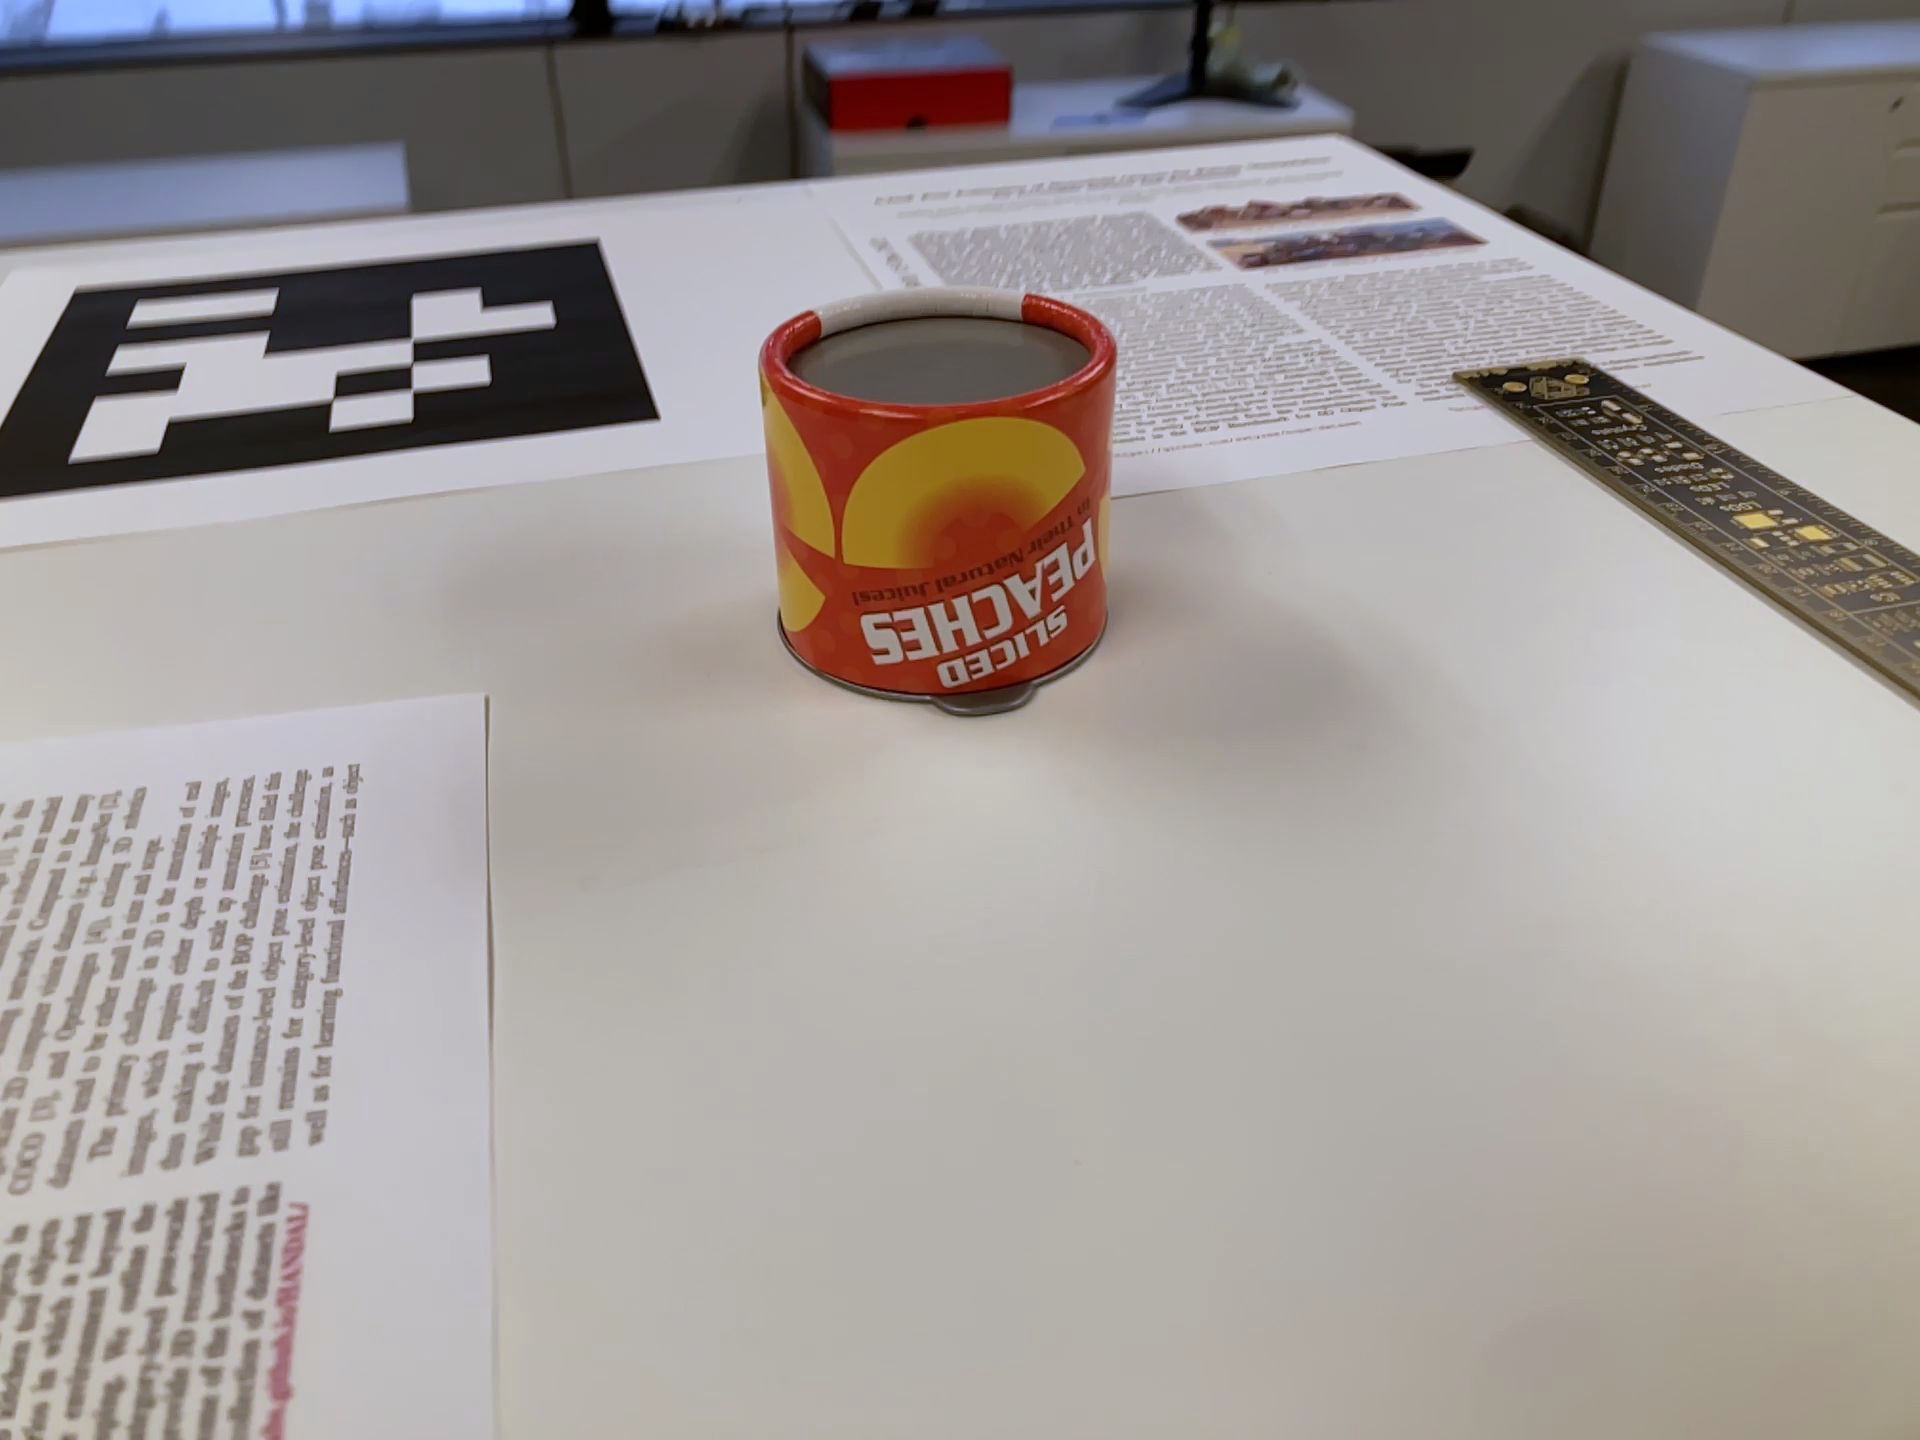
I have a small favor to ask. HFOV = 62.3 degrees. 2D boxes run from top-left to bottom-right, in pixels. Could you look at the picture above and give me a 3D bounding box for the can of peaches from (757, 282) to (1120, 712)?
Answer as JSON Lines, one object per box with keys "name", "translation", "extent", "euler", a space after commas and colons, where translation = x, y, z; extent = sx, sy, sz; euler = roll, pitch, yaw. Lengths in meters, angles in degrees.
{"name": "can of peaches", "translation": [-0.003, -0.044, 0.297], "extent": [0.071, 0.058, 0.071], "euler": [0, 32, 0]}
